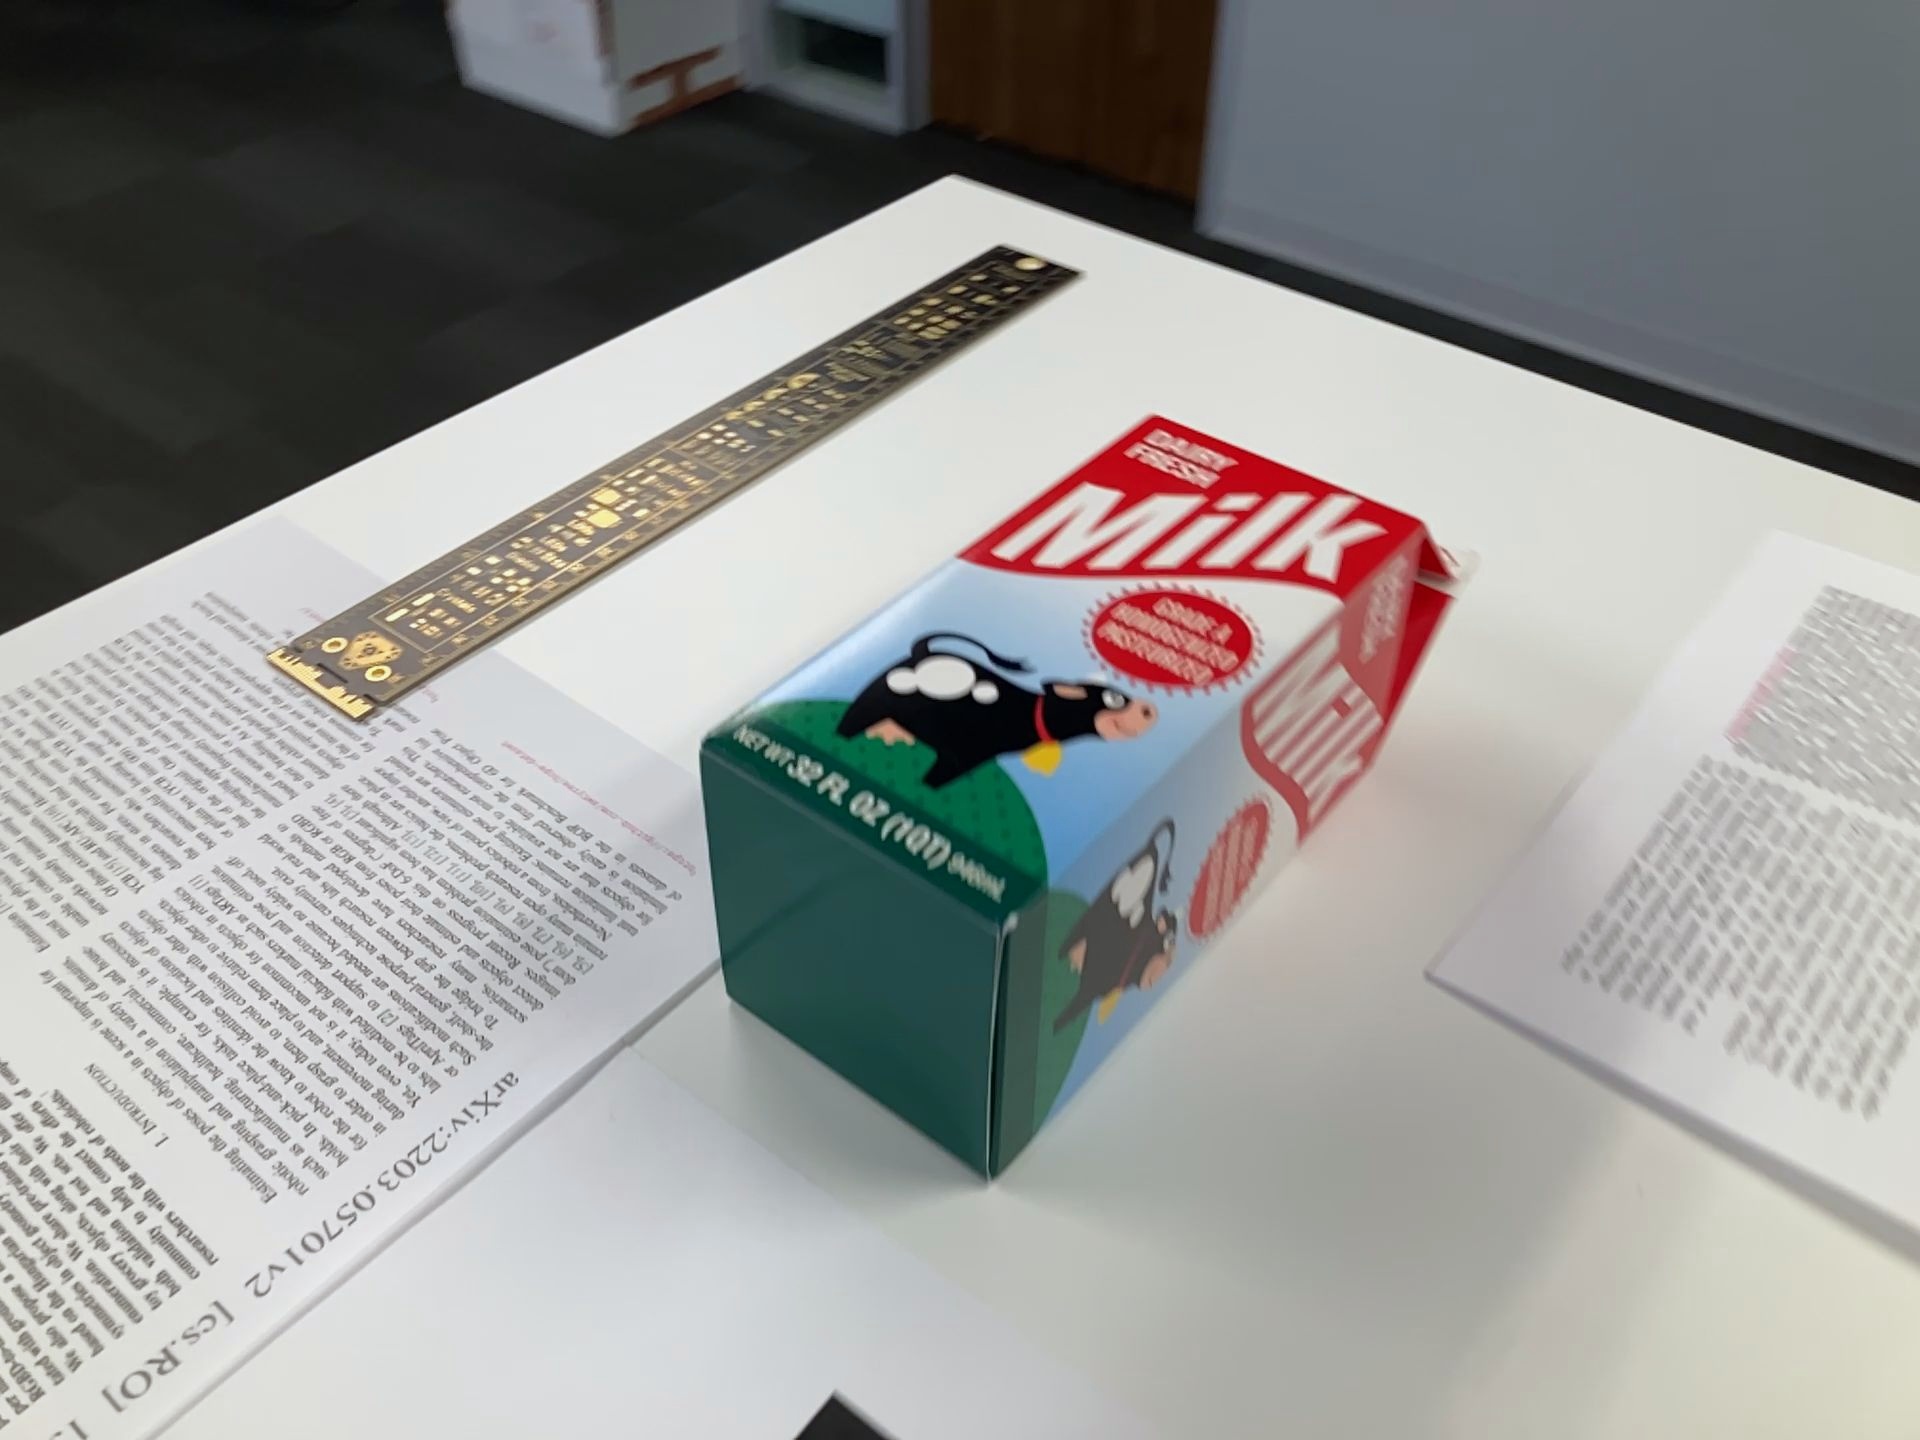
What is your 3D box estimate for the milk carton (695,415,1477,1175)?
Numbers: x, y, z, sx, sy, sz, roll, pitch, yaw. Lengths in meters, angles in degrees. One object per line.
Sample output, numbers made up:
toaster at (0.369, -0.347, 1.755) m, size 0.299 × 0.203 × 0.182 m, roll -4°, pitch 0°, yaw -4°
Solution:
milk carton at (0.038, -0.004, 0.342) m, size 0.072 × 0.073 × 0.190 m, roll 27°, pitch 47°, yaw 28°
